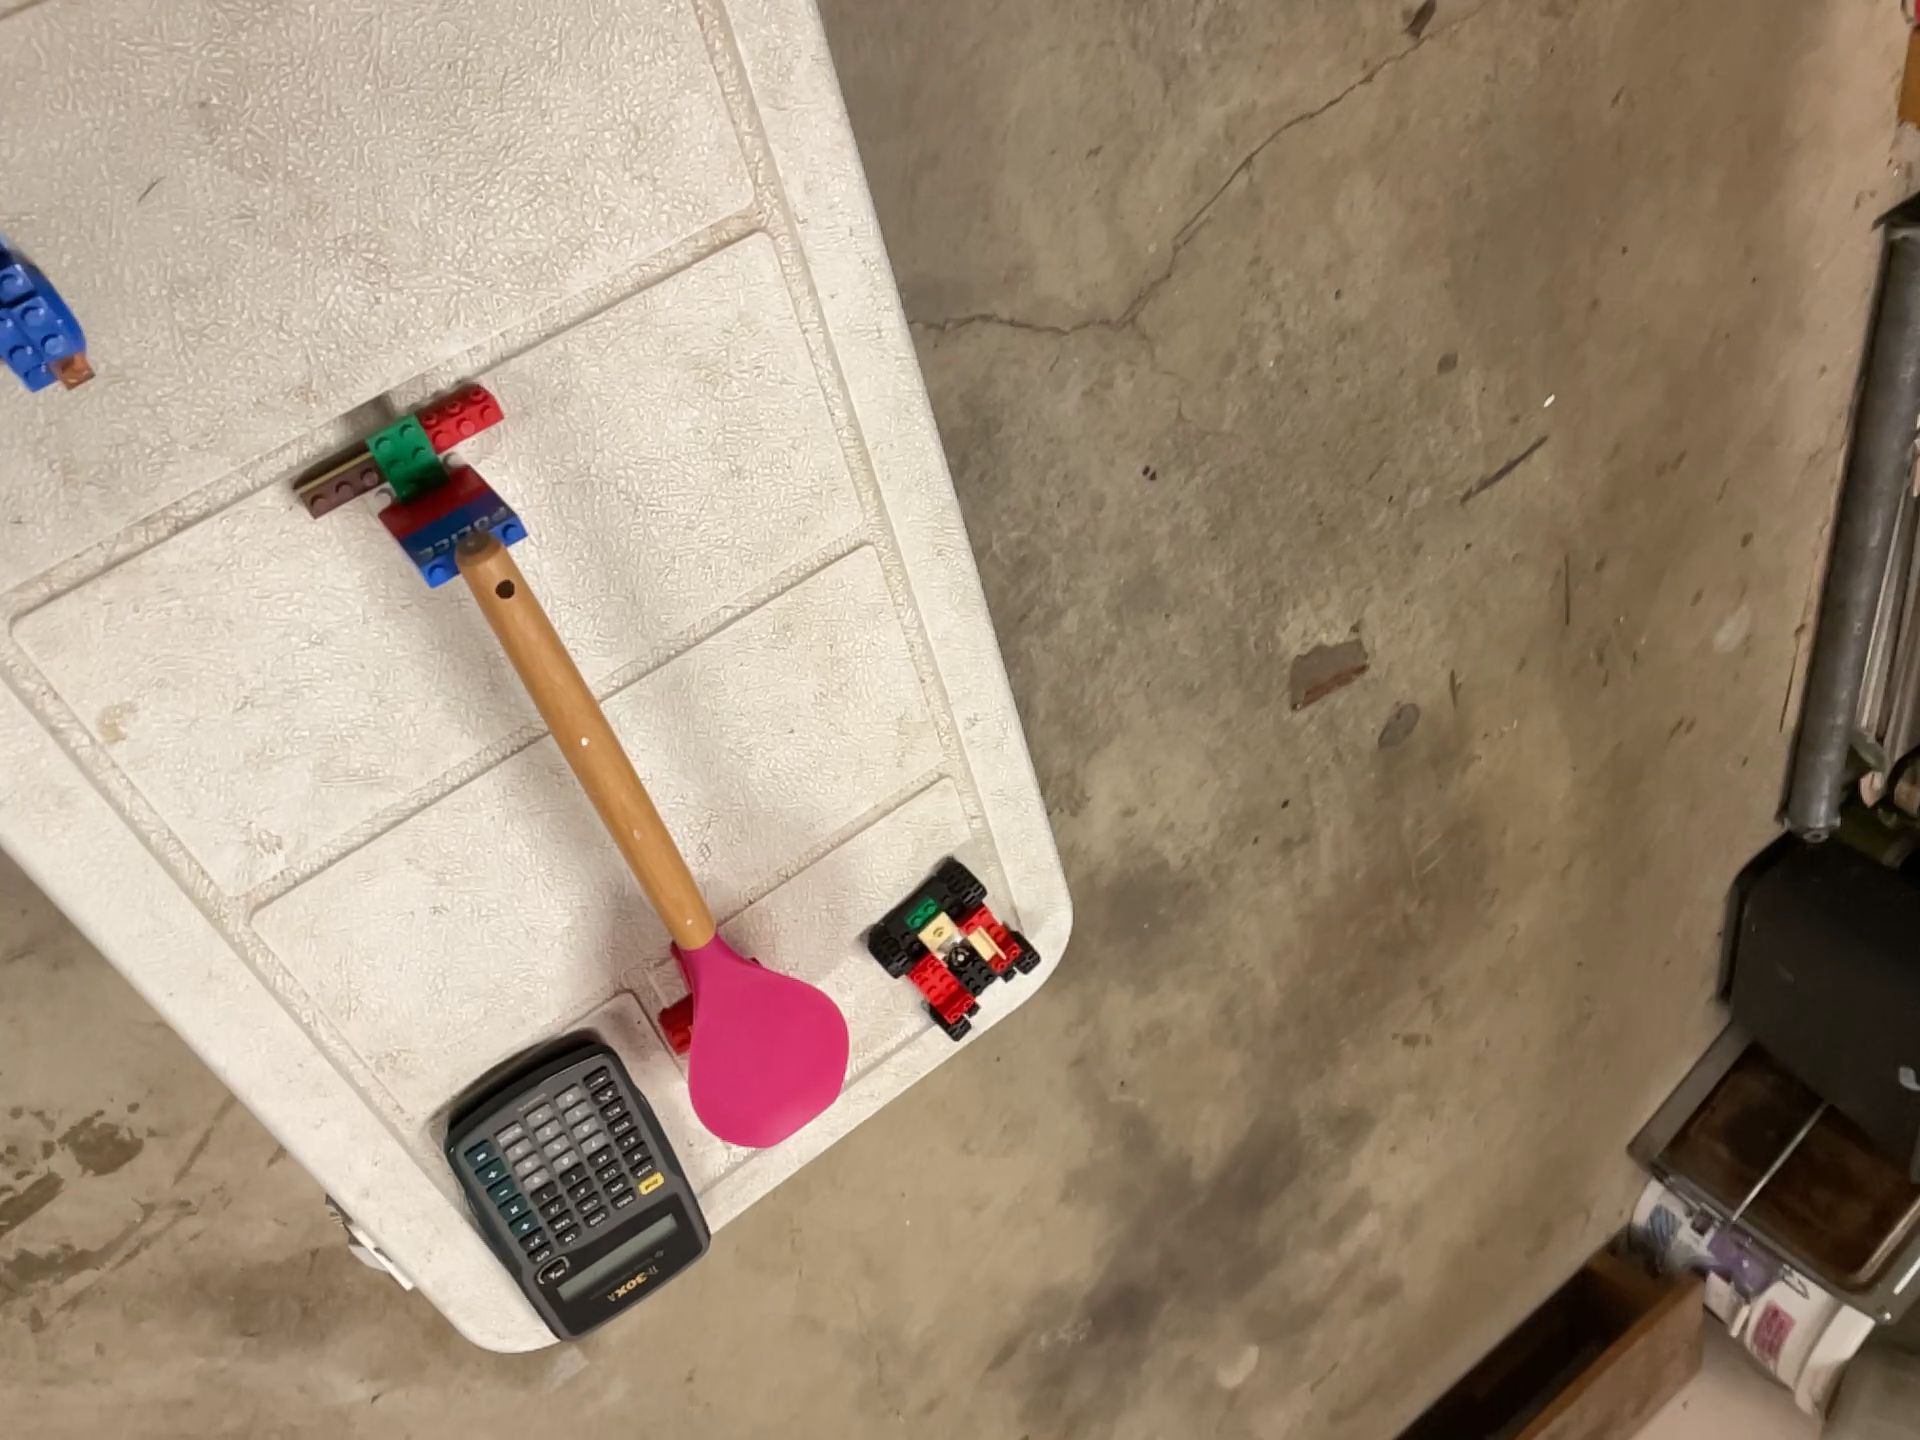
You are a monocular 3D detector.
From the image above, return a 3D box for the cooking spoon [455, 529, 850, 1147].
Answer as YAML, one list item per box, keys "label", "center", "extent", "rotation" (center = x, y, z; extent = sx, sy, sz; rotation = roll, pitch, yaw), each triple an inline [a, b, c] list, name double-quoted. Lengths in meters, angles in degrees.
- label: "cooking spoon"
  center: [-0.102, 0.059, 0.562]
  extent: [0.069, 0.017, 0.318]
  rotation: [-34, 136, -16]
